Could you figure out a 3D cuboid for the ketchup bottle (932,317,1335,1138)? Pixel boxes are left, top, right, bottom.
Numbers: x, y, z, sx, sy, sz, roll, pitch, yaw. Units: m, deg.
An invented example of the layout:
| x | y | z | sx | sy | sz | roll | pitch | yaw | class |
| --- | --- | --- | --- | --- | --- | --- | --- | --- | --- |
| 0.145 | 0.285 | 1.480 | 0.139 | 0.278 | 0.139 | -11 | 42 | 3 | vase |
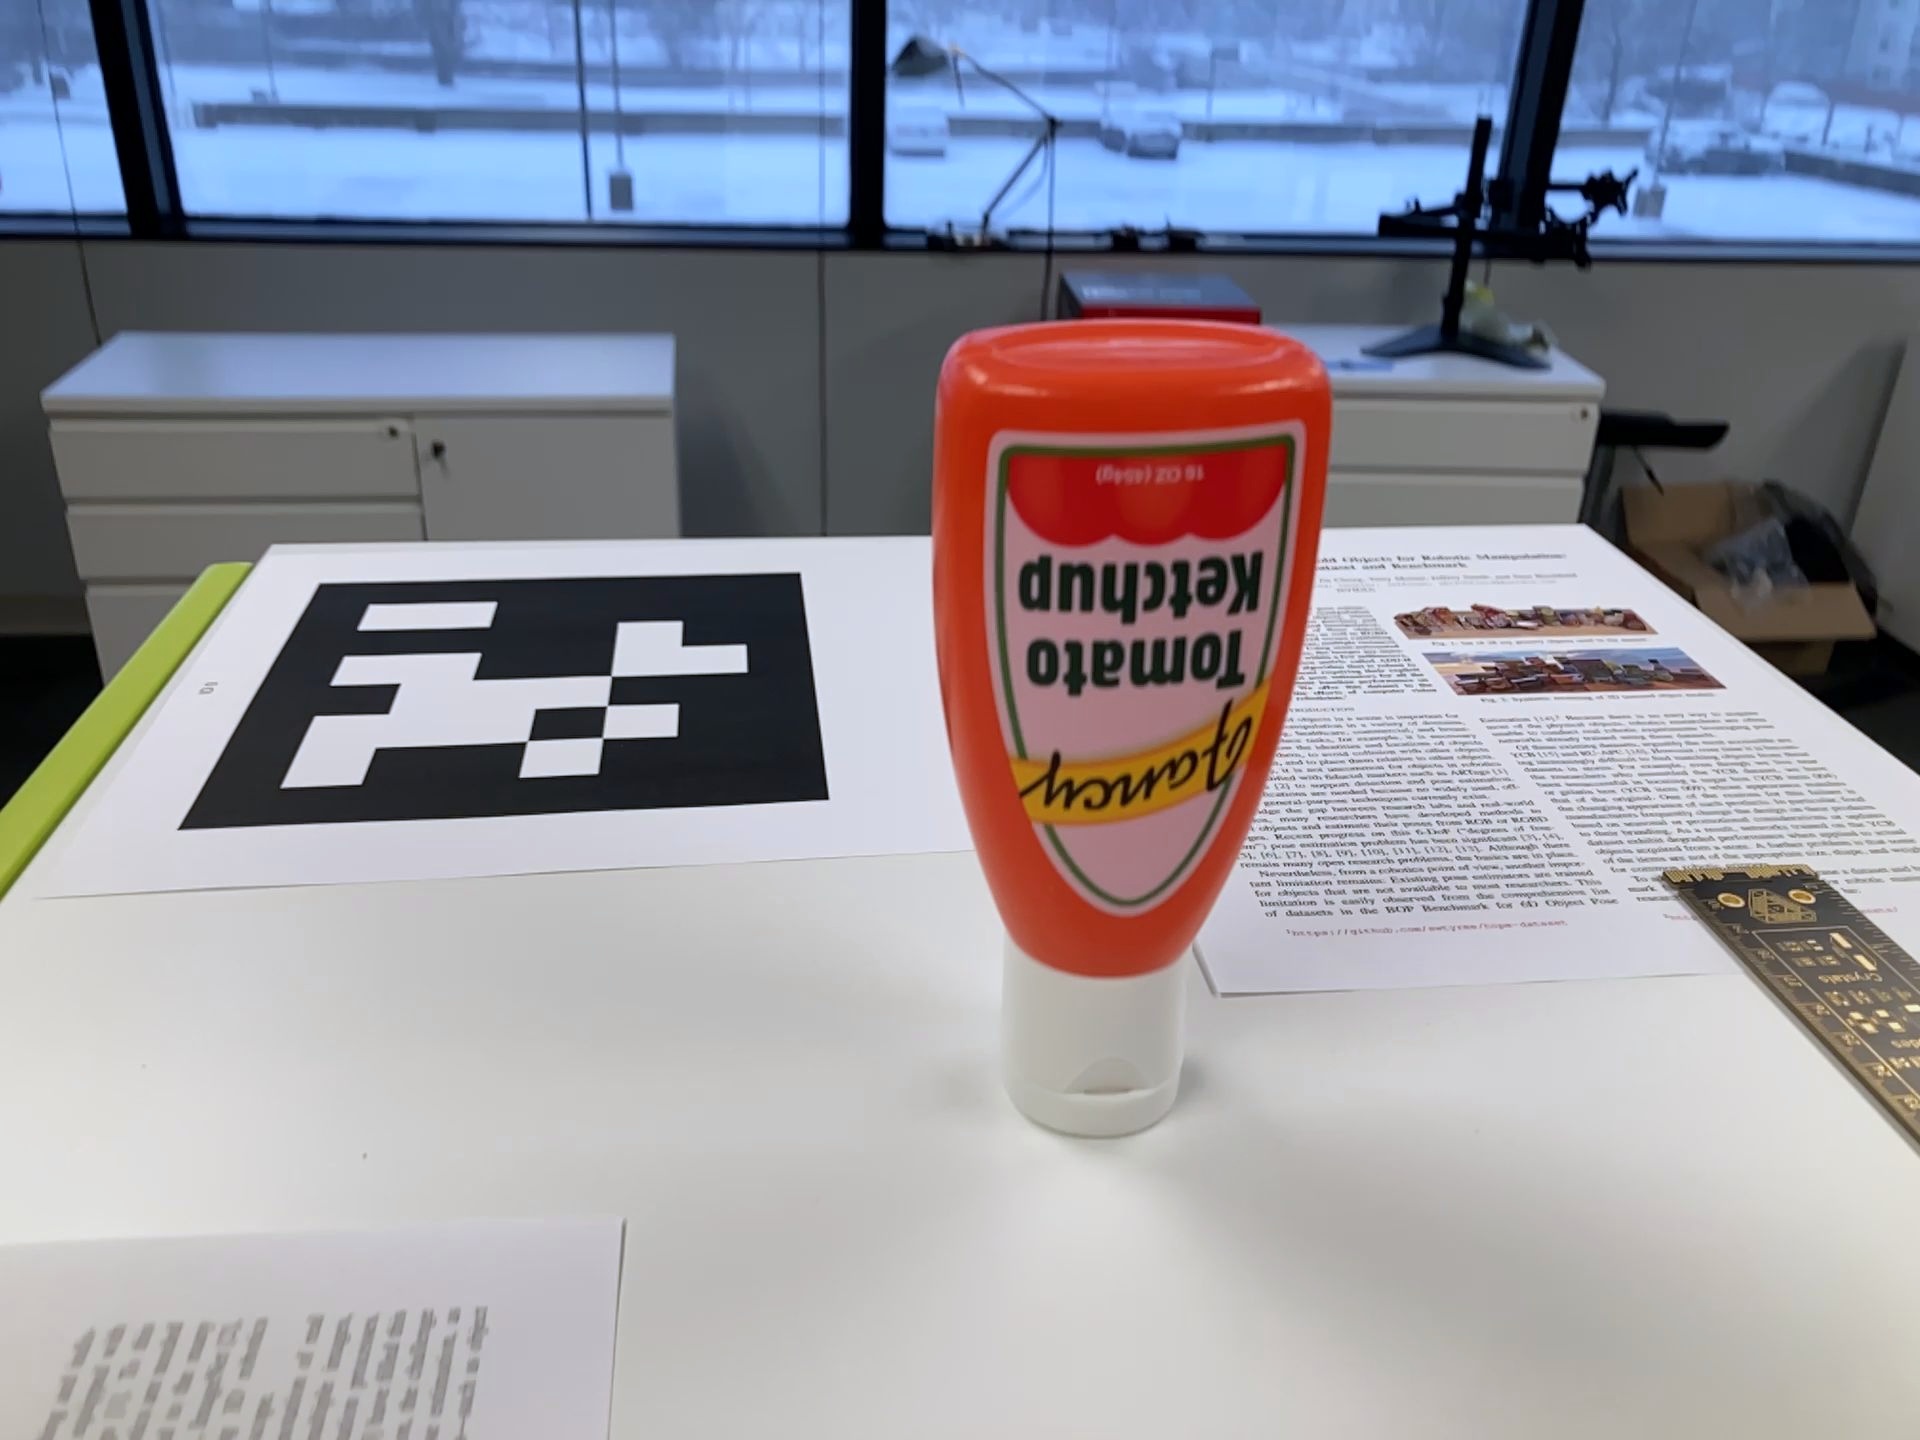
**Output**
| x | y | z | sx | sy | sz | roll | pitch | yaw | class |
| --- | --- | --- | --- | --- | --- | --- | --- | --- | --- |
| 0.027 | 0.006 | 0.284 | 0.065 | 0.149 | 0.043 | -2 | 27 | -6 | ketchup bottle |
